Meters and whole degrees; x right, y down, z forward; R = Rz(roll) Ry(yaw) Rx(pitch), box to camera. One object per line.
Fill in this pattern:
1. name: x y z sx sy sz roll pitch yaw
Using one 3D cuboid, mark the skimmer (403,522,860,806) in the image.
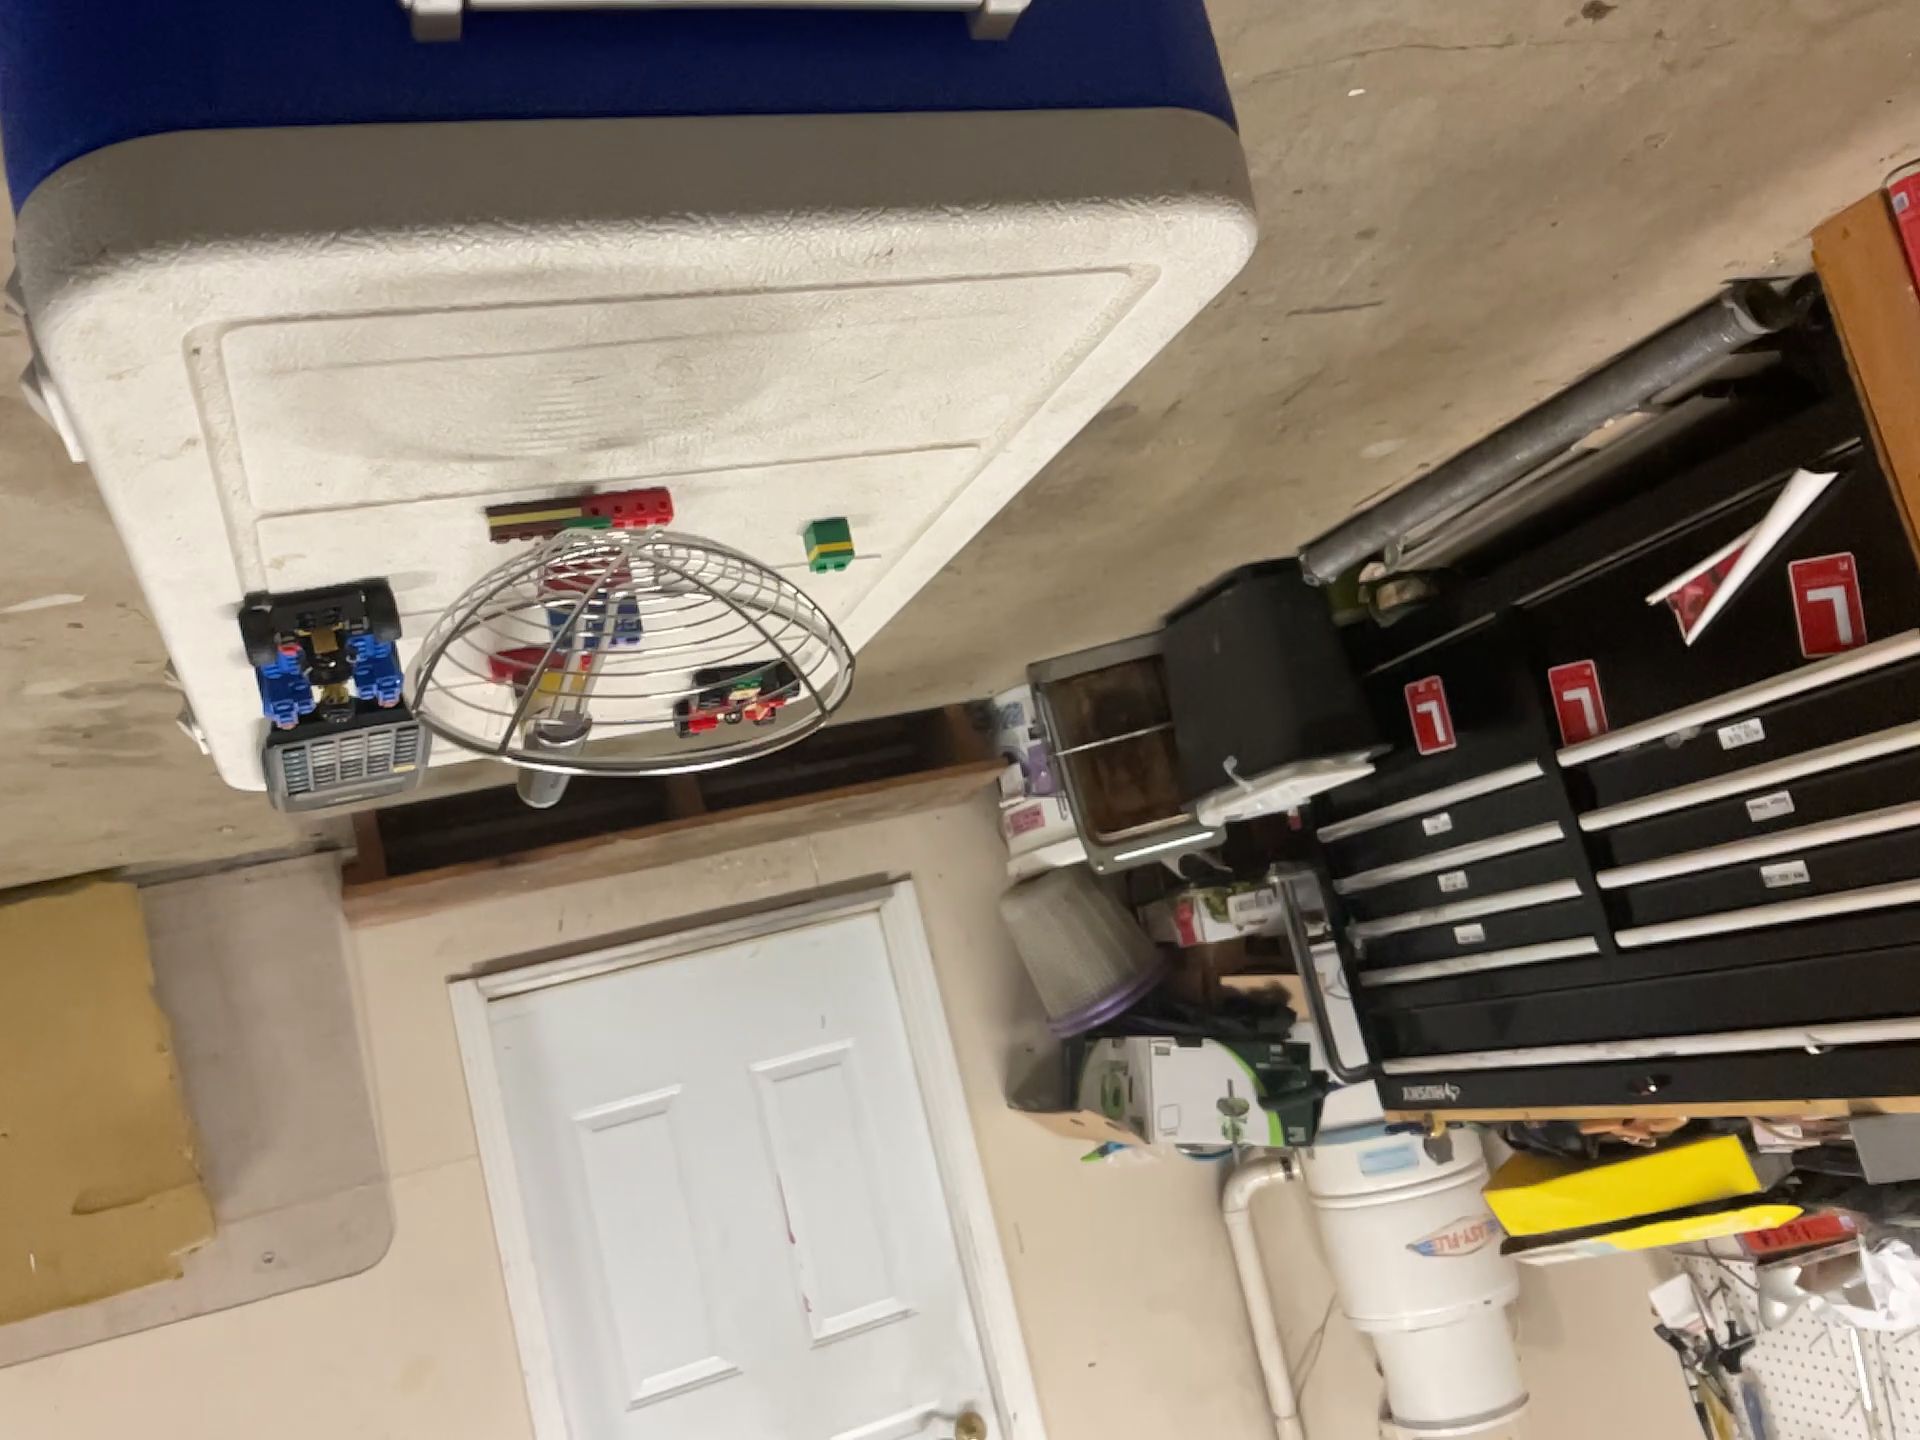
1. skimmer: -0.135 0.014 0.577 0.127 0.090 0.363 -8 169 -21
